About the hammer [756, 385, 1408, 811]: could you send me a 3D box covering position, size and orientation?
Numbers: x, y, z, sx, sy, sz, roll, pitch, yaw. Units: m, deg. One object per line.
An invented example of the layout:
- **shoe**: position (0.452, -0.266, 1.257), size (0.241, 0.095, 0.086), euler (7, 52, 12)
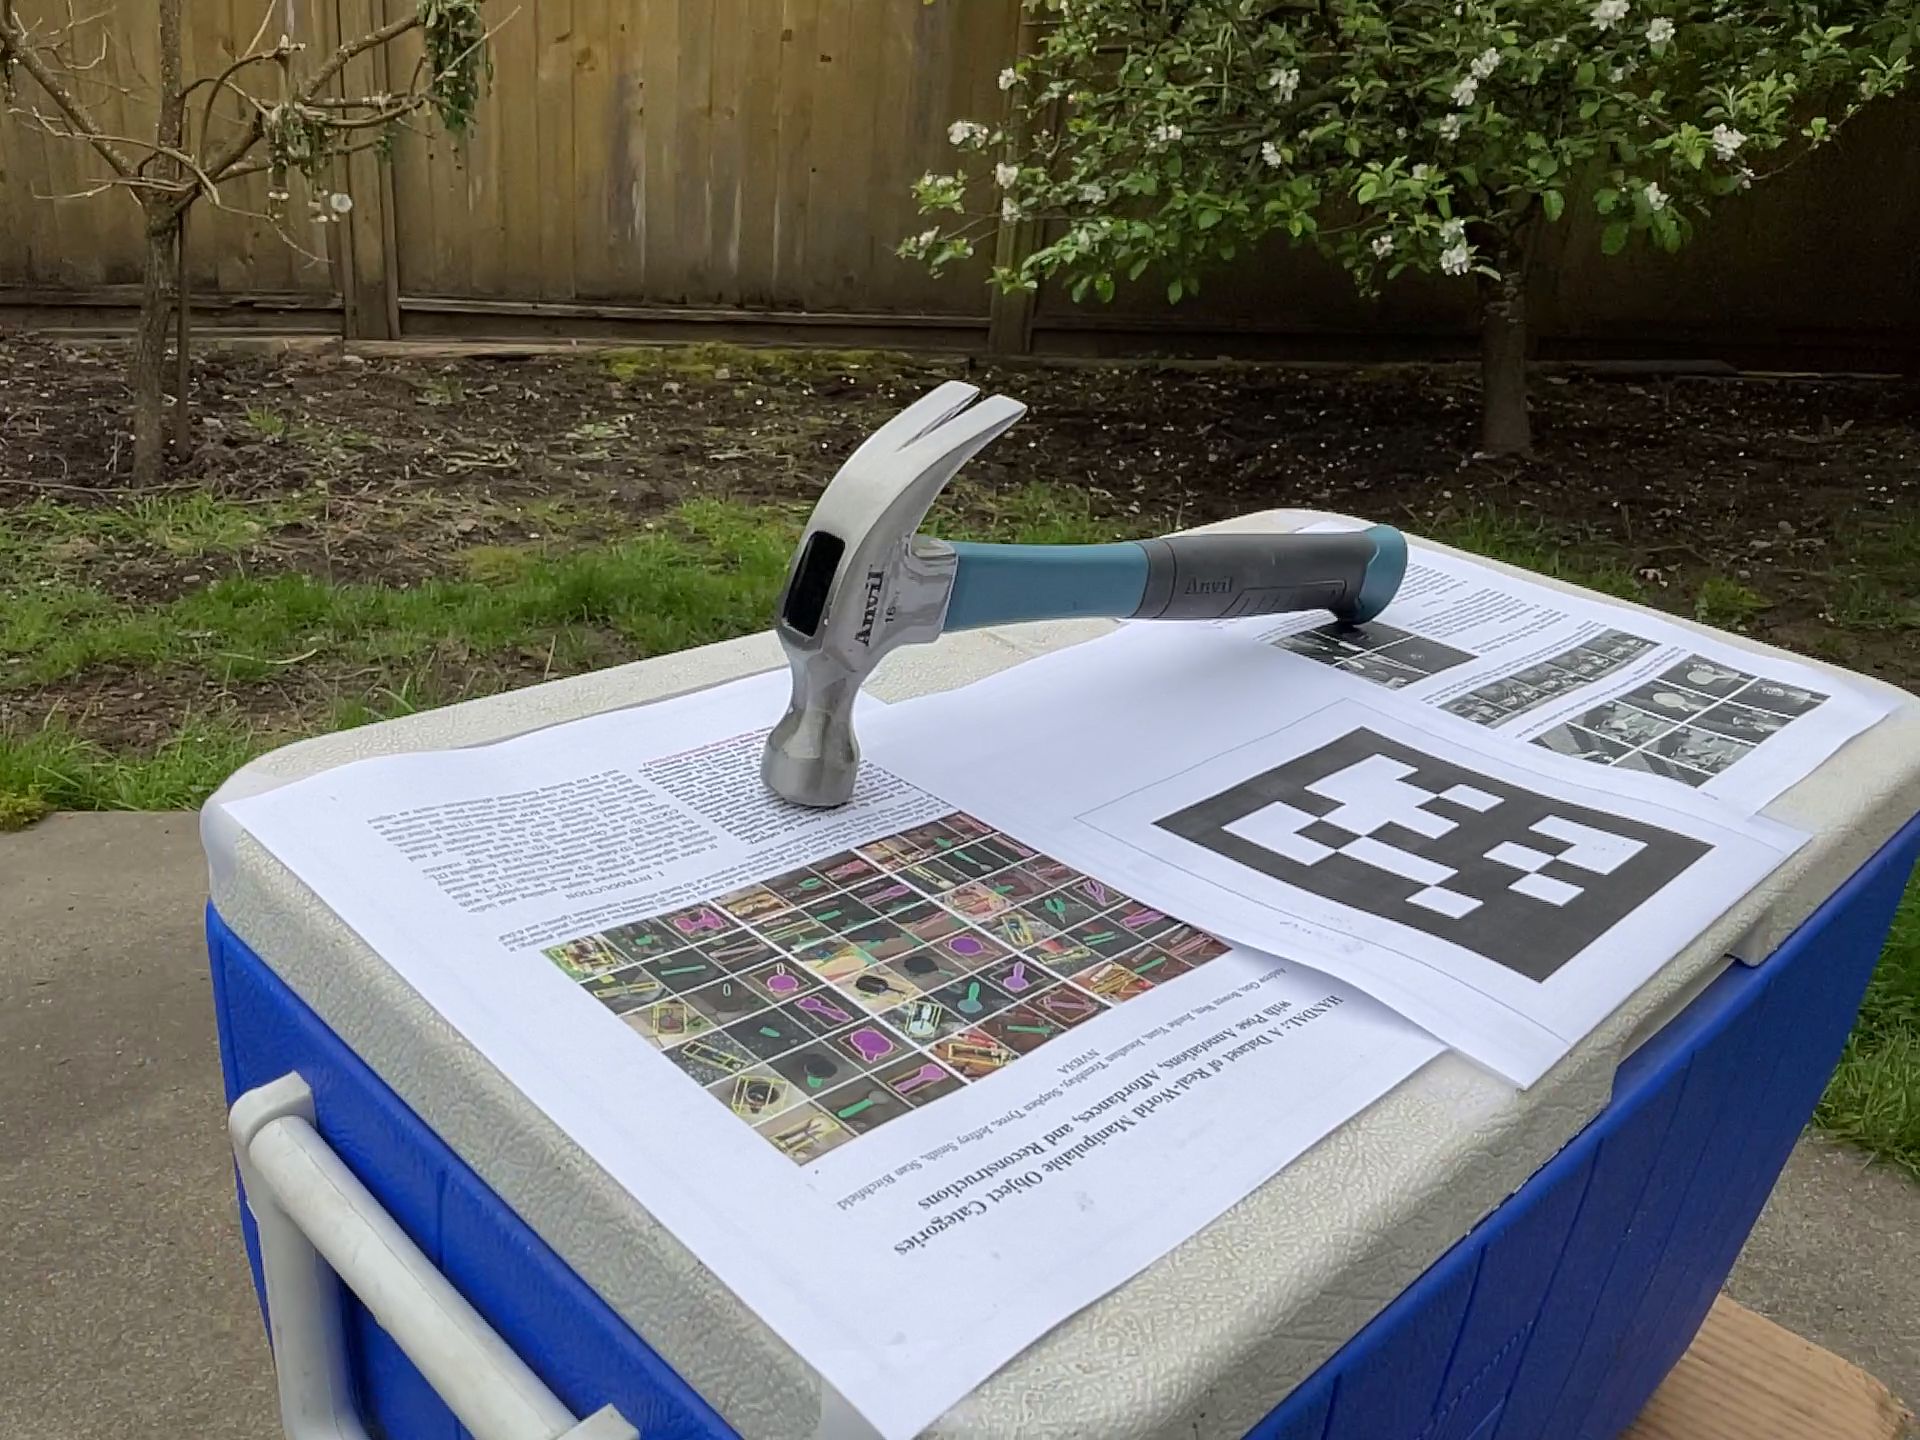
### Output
- **hammer**: position (0.069, -0.049, 0.579), size (0.033, 0.128, 0.331), euler (28, 24, 38)
